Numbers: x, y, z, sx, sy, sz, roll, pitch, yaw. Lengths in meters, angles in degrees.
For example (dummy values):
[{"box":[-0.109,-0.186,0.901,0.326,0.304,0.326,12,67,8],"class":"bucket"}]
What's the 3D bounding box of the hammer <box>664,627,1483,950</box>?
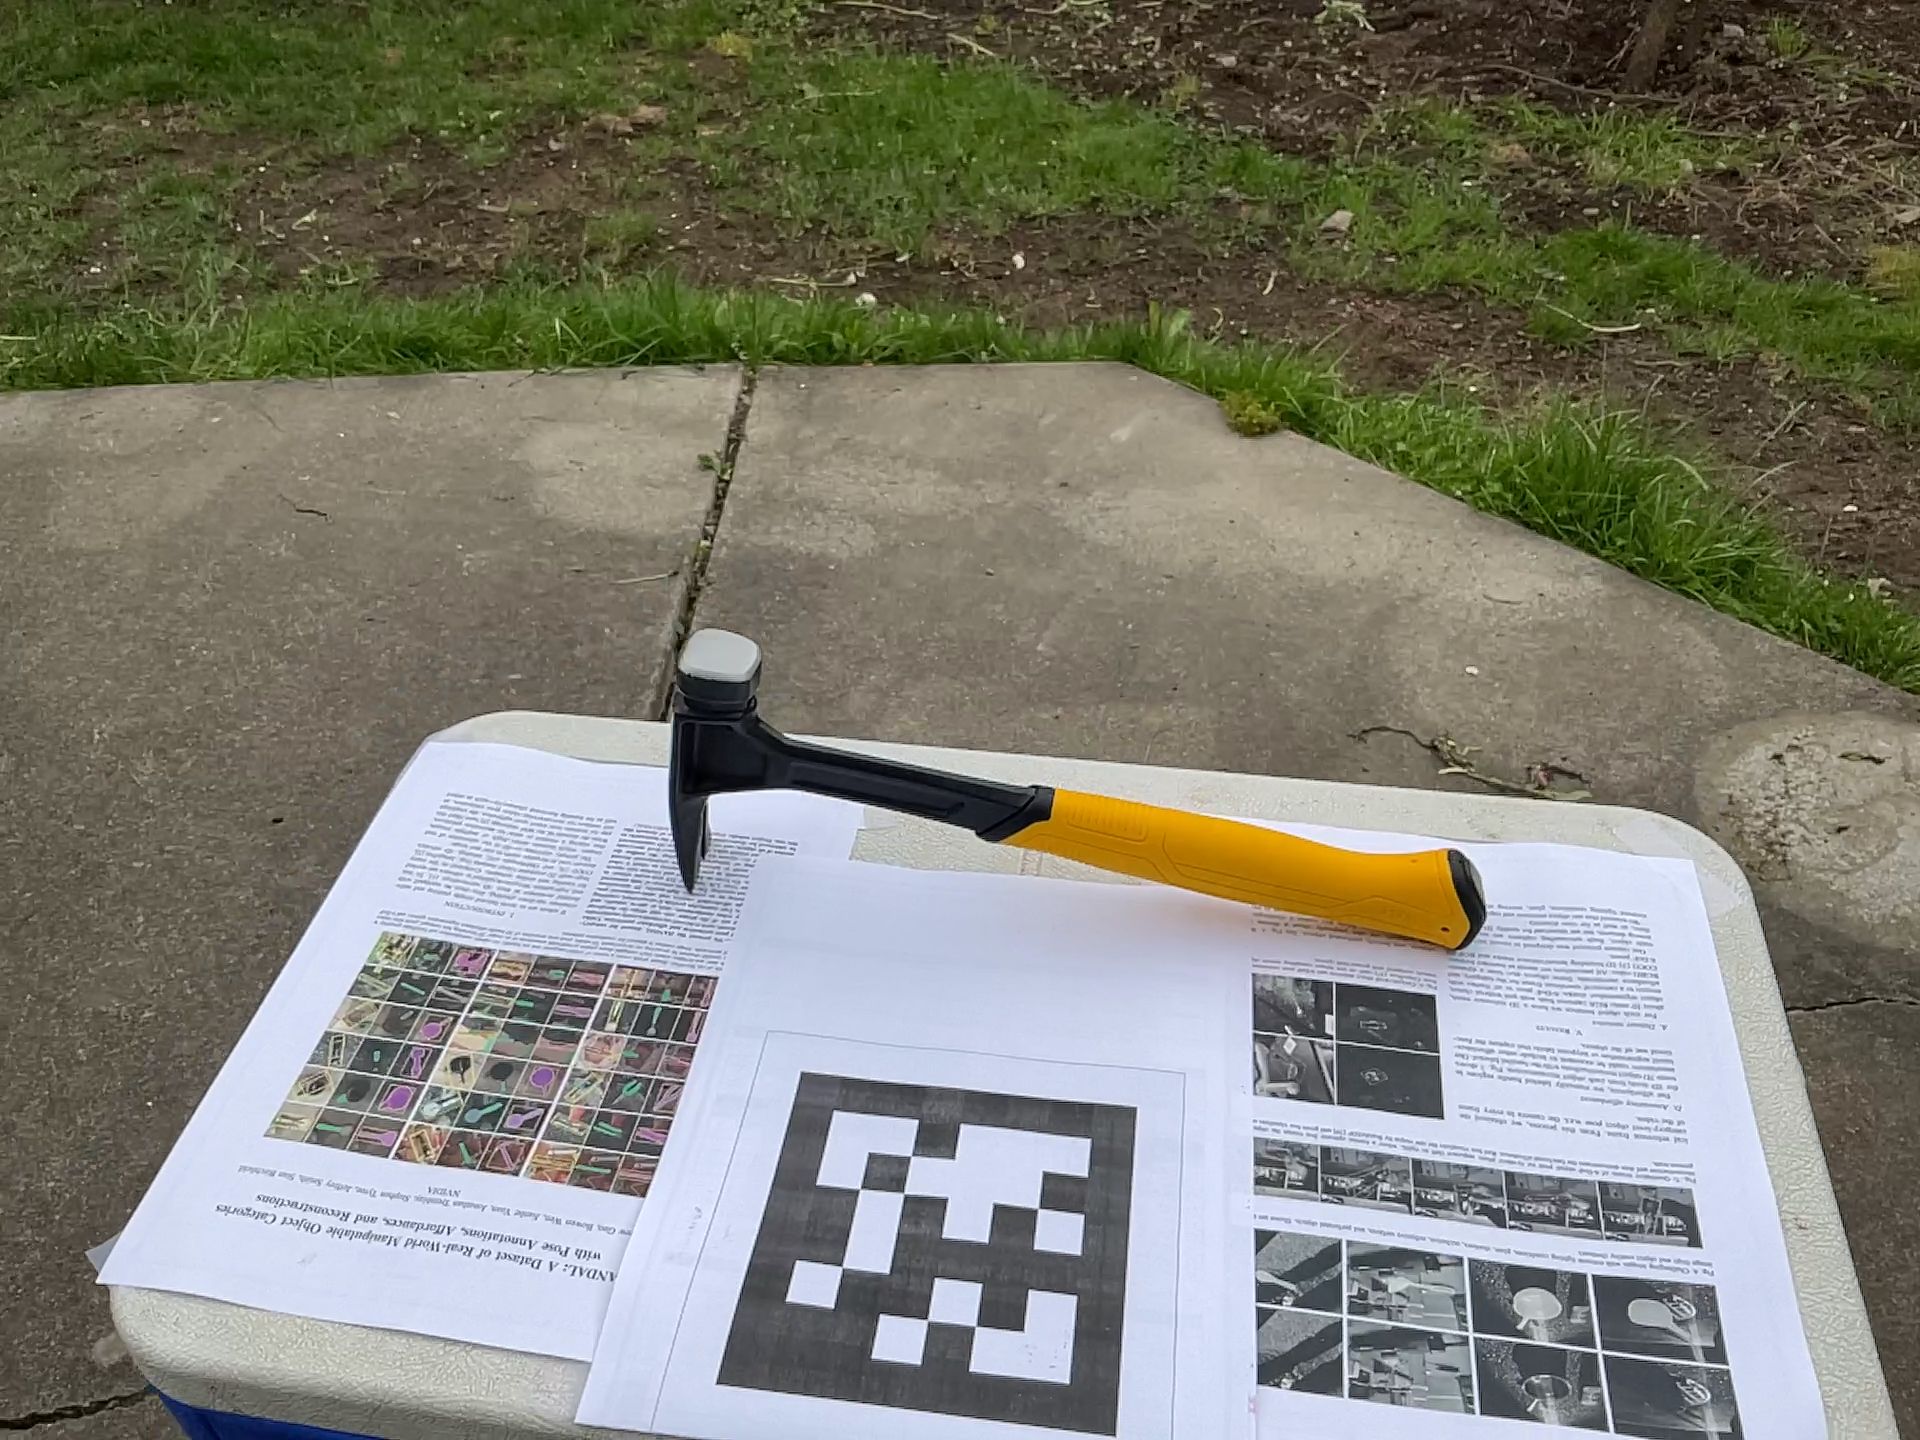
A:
[{"box":[0.044,0.049,0.659,0.337,0.127,0.034,12,42,1],"class":"hammer"}]
